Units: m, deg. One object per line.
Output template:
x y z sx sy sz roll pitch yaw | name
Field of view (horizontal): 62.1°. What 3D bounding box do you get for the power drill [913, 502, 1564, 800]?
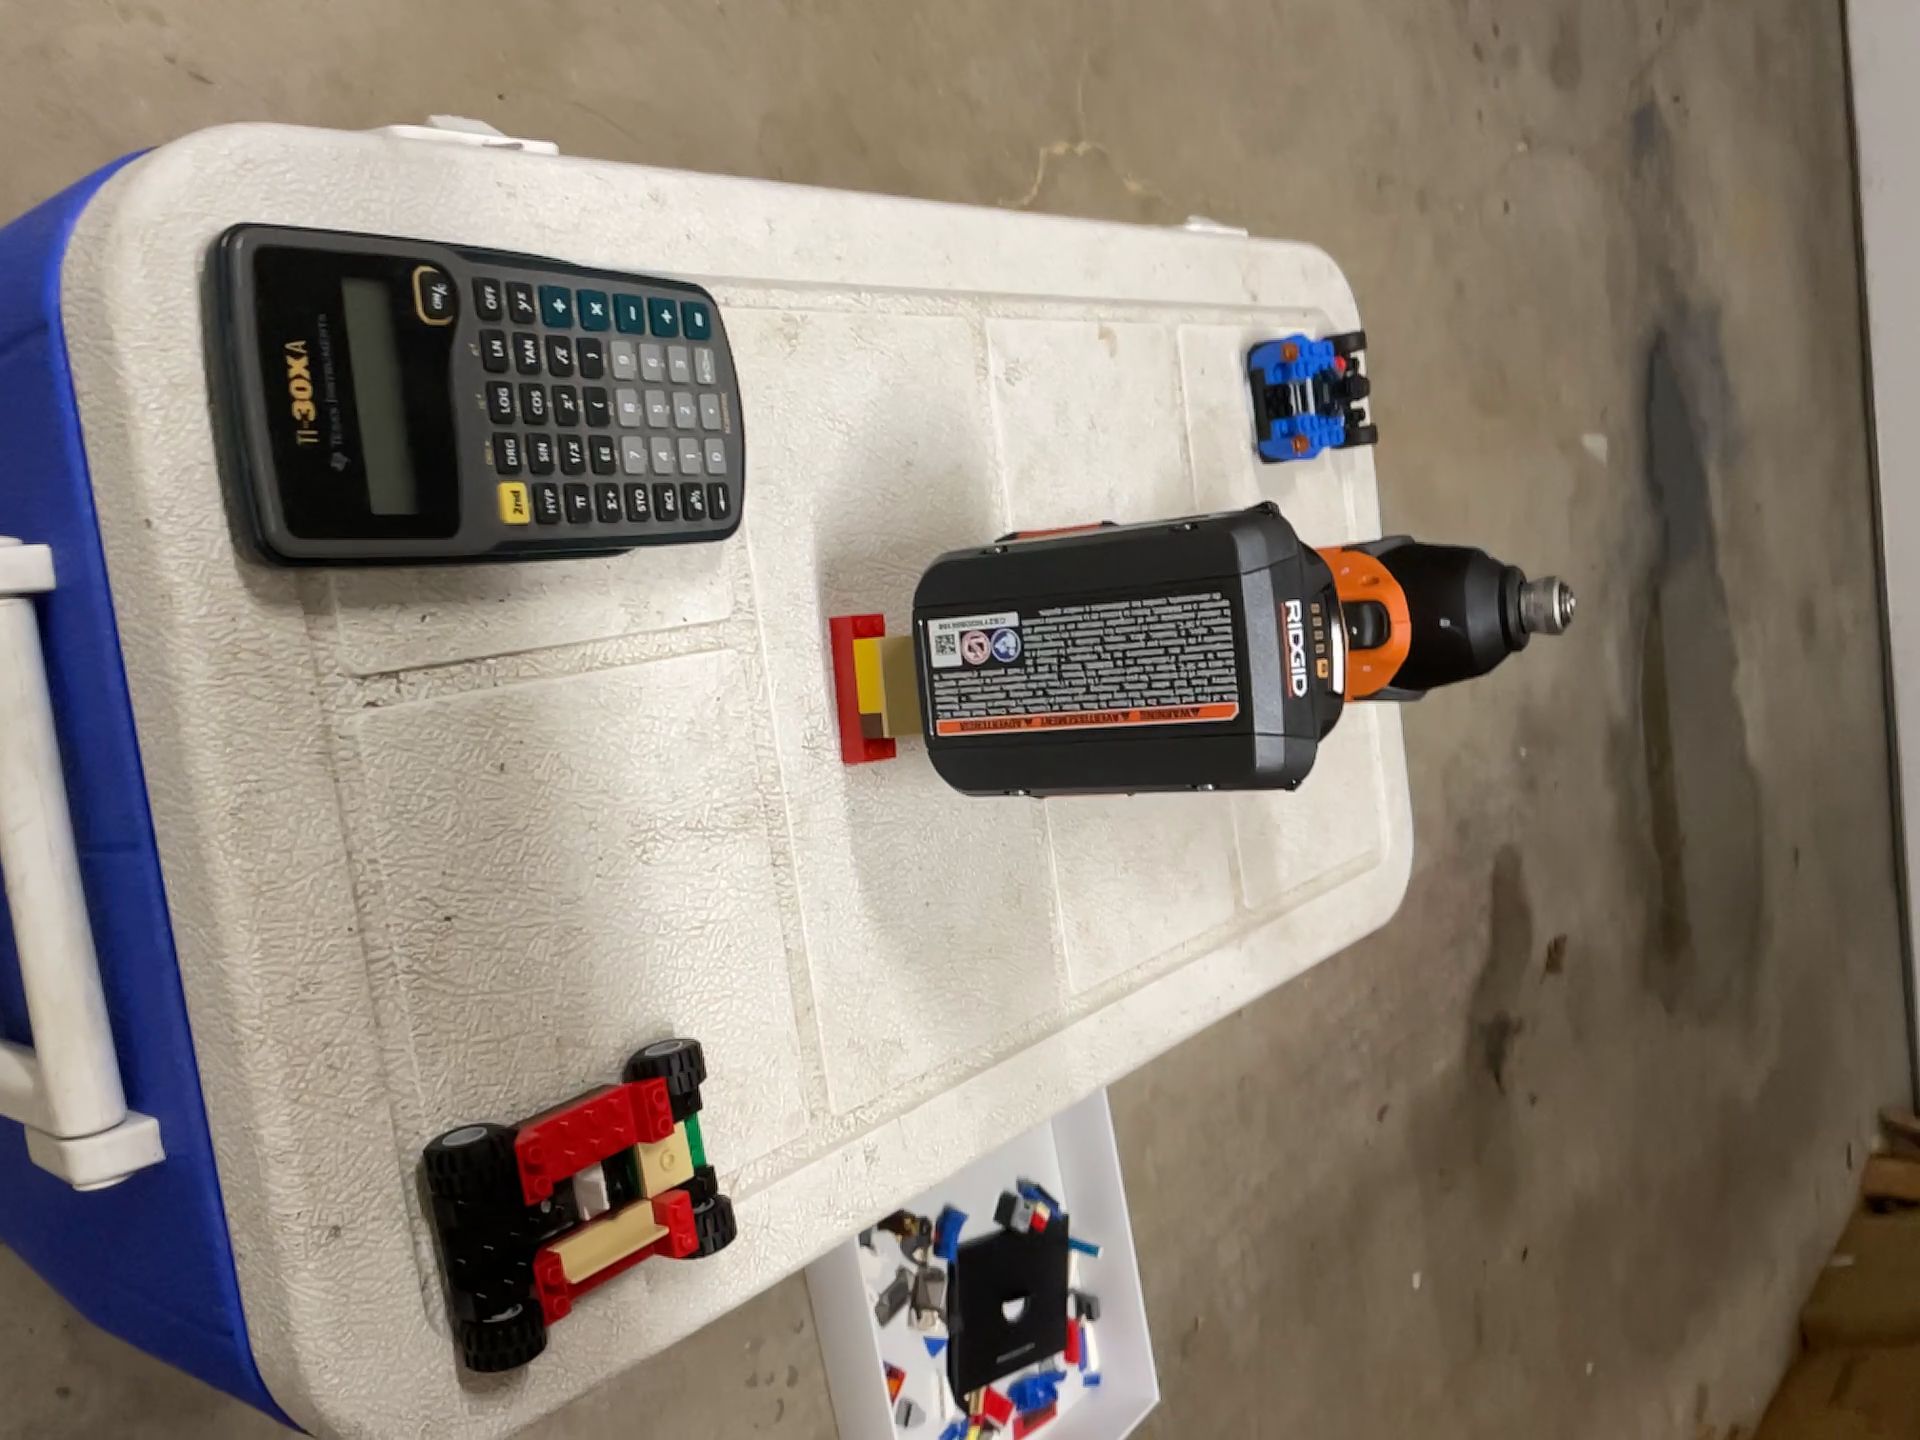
0.103 -0.028 0.540 0.227 0.164 0.084 -12 97 -60 | power drill
